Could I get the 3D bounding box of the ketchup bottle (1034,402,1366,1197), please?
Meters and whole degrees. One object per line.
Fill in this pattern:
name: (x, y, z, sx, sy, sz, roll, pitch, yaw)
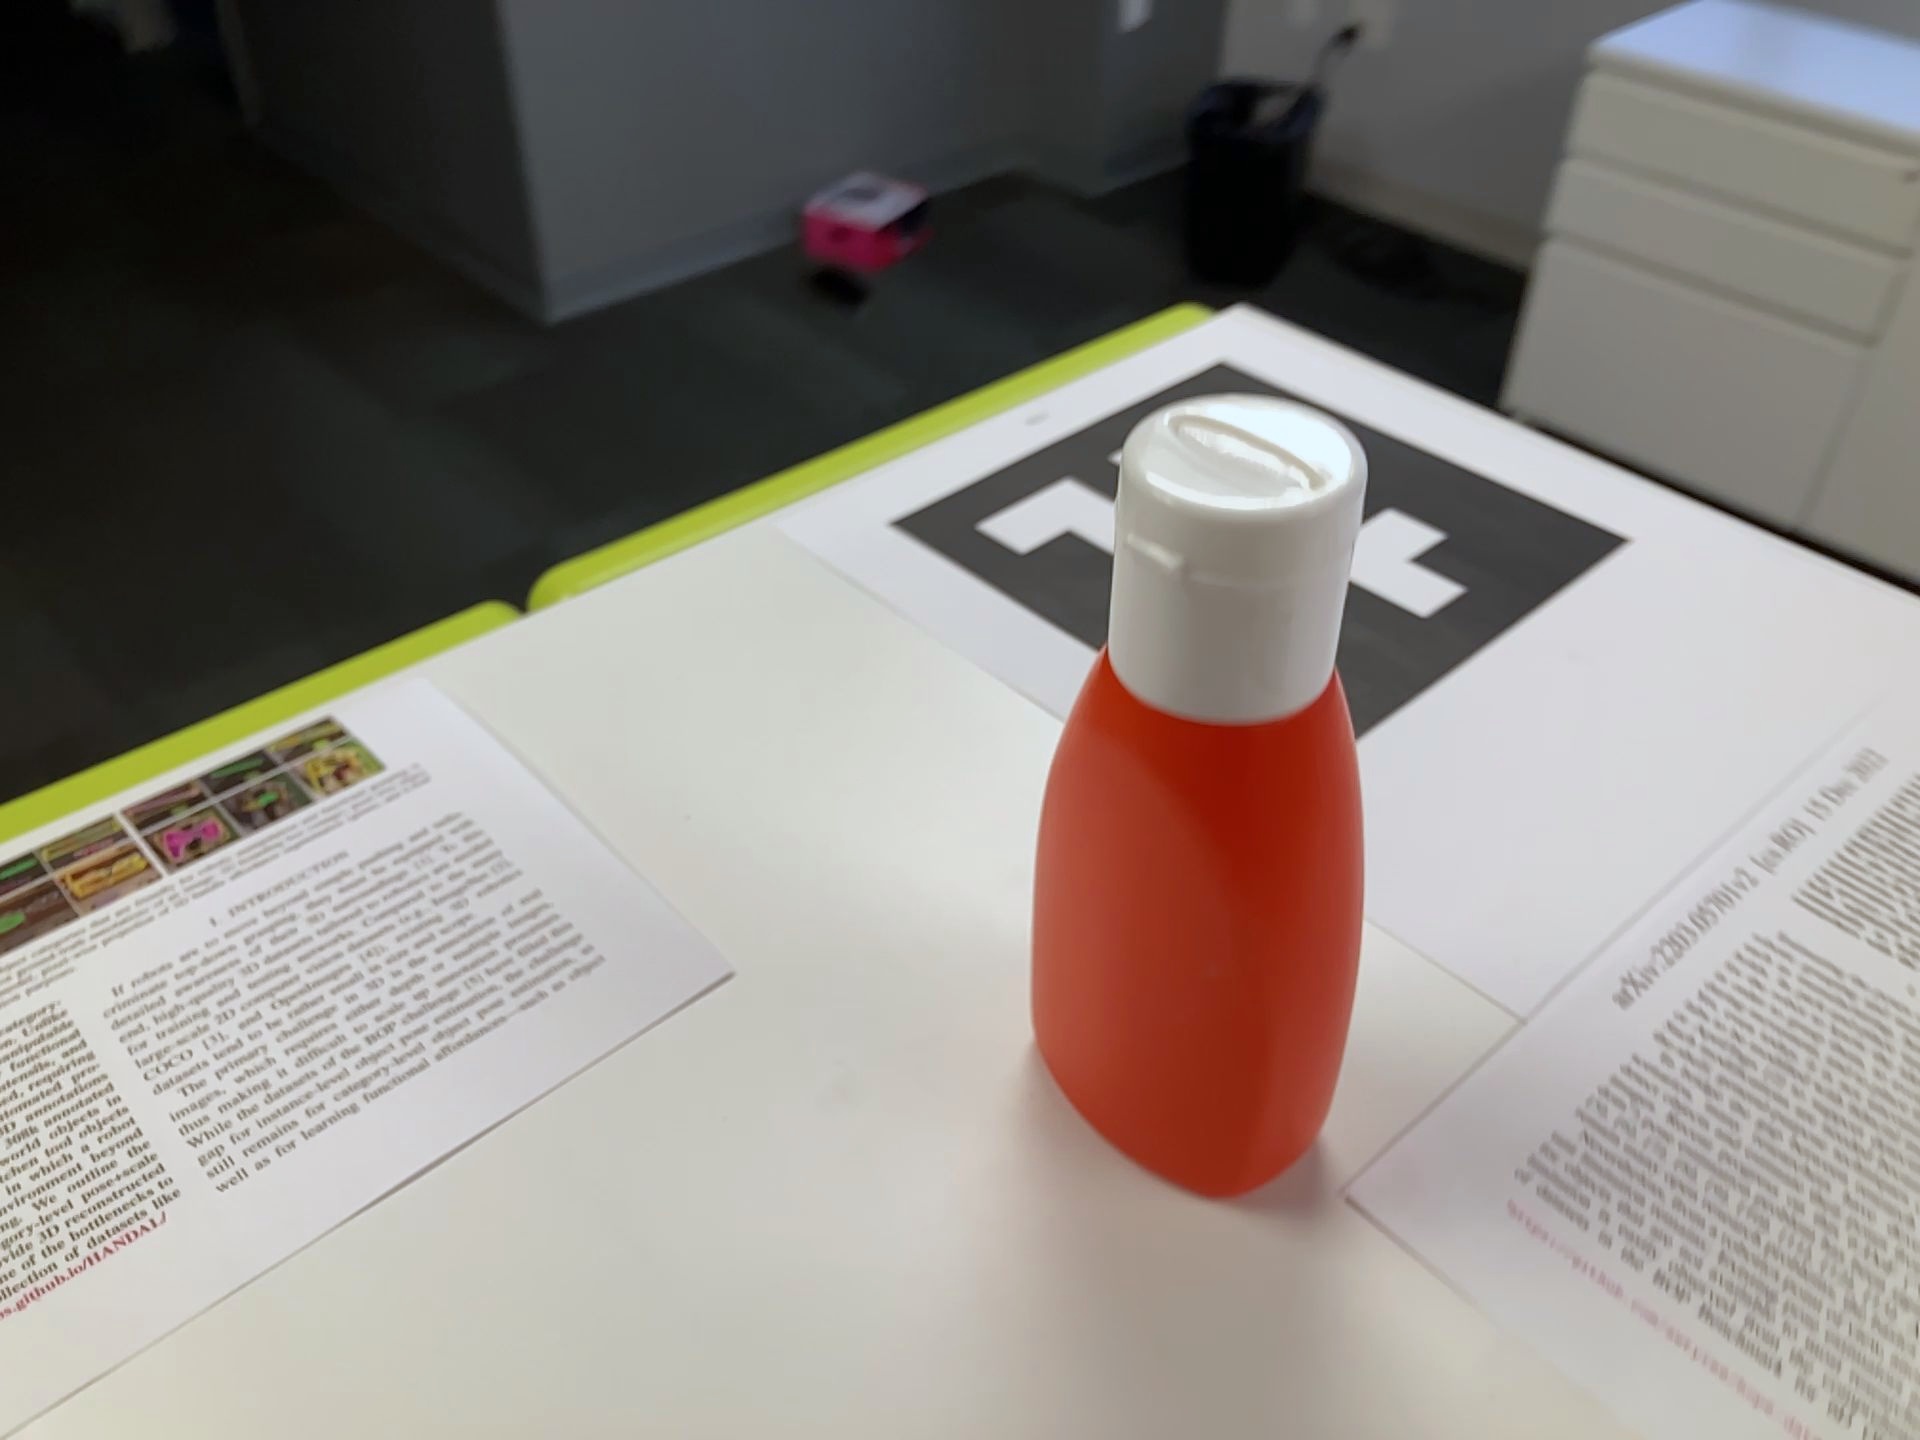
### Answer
ketchup bottle: (0.042, 0.018, 0.283, 0.043, 0.149, 0.065, -30, 48, -29)
